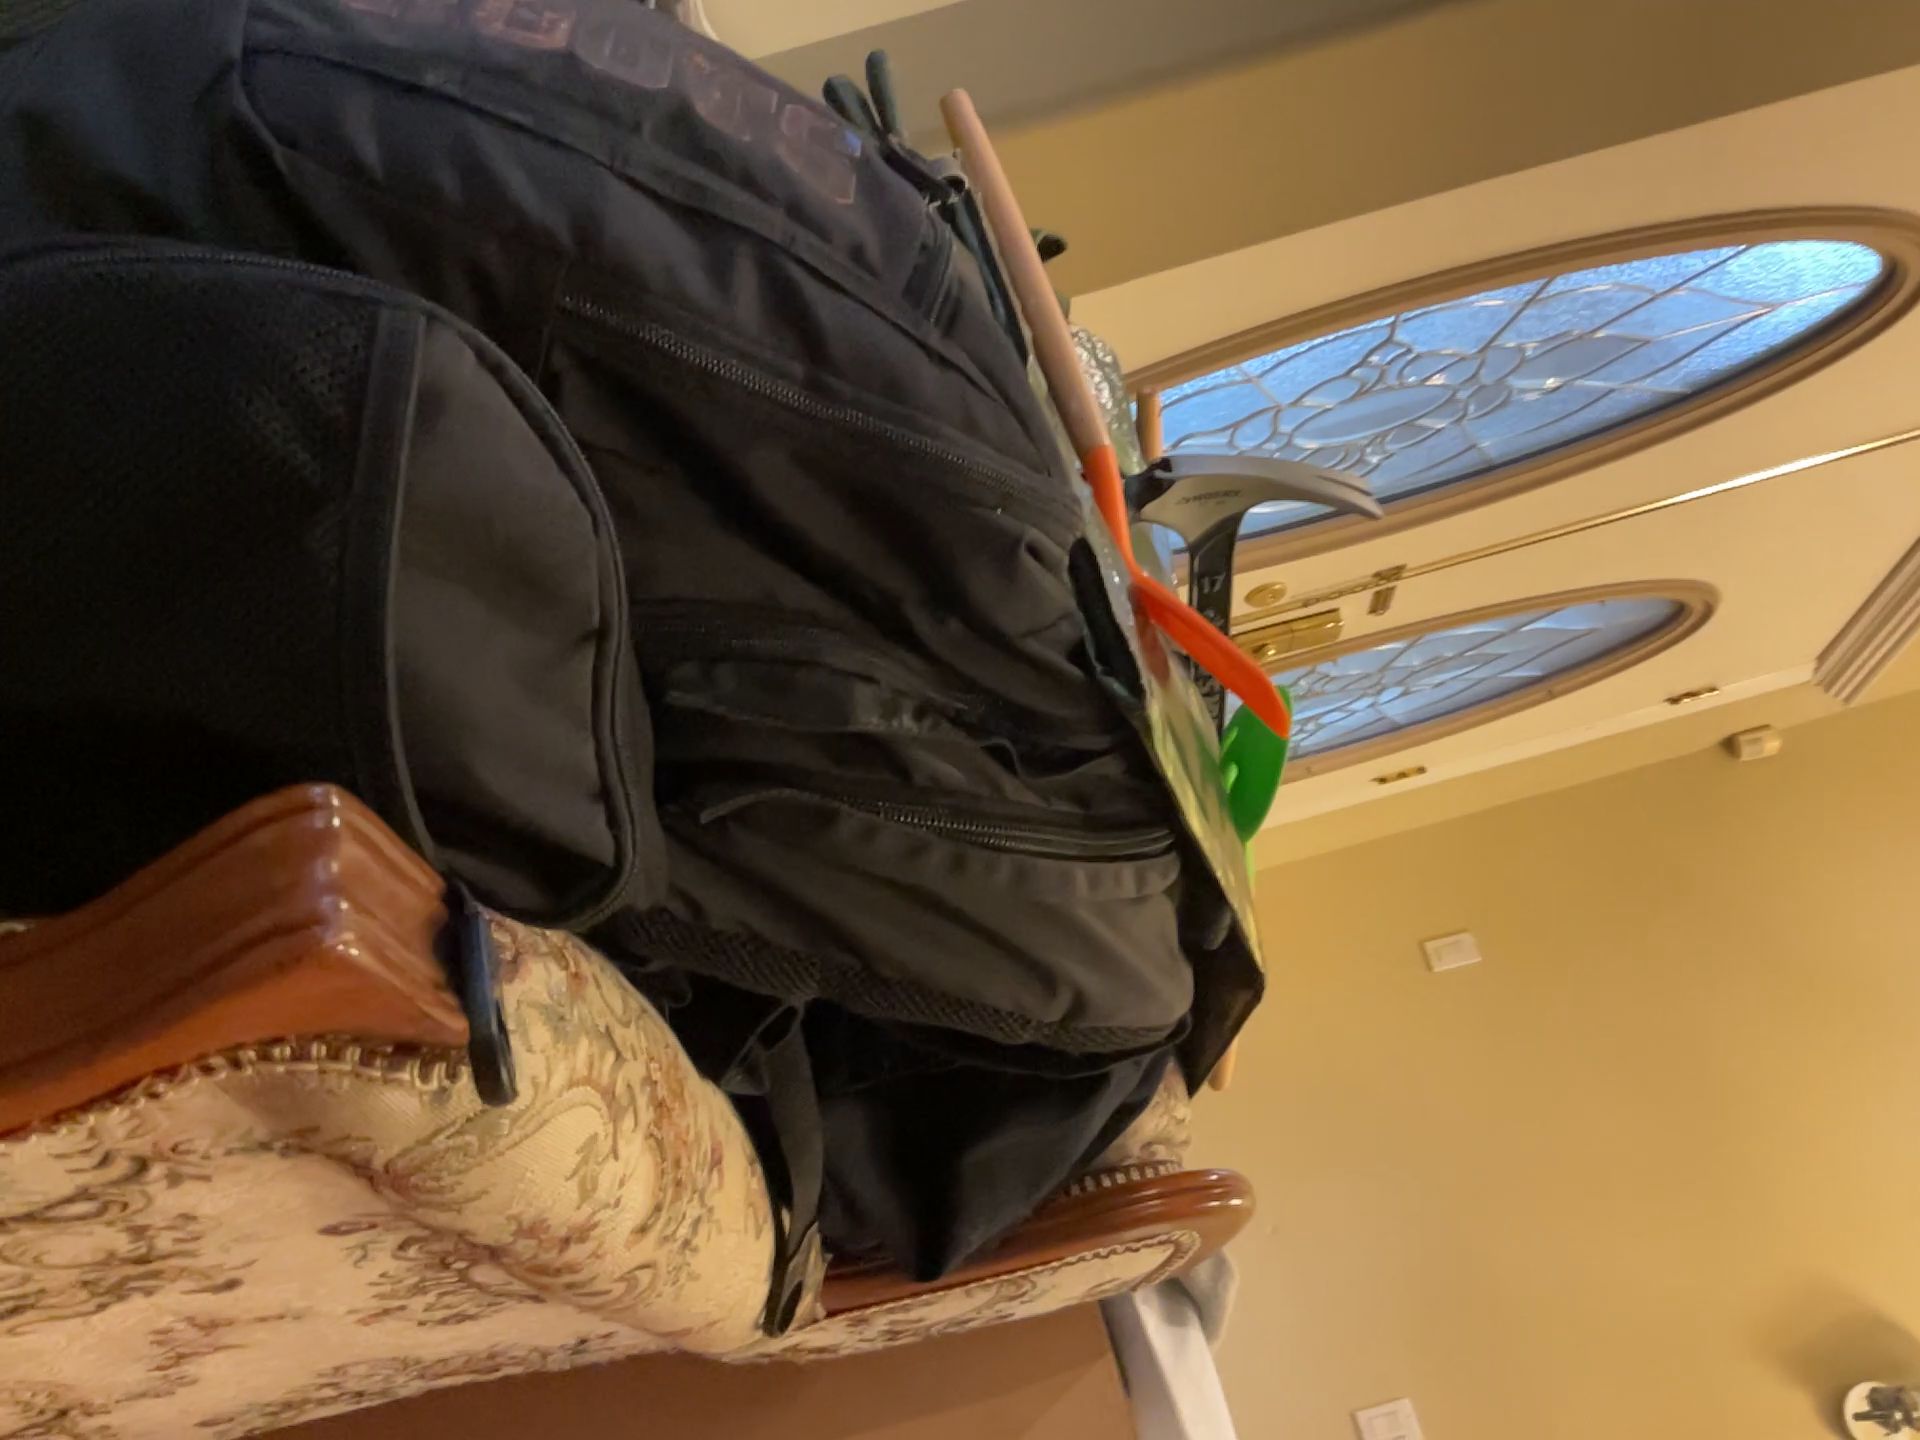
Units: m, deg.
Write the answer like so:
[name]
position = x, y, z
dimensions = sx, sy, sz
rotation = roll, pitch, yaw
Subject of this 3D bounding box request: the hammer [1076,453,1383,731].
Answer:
[hammer]
position = 0.137, 0.027, 0.868
dimensions = 0.036, 0.149, 0.408
rotation = -94, 178, -47

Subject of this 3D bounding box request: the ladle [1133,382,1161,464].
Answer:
[ladle]
position = 0.129, -0.067, 0.986
dimensions = 0.078, 0.062, 0.320
rotation = -70, 160, -45

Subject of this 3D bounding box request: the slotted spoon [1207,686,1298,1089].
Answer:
[slotted spoon]
position = 0.145, 0.104, 0.838
dimensions = 0.070, 0.031, 0.313
rotation = -85, 174, -46

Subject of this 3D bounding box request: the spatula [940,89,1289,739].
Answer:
[spatula]
position = 0.057, -0.136, 0.661
dimensions = 0.081, 0.041, 0.323
rotation = 49, 20, -72
